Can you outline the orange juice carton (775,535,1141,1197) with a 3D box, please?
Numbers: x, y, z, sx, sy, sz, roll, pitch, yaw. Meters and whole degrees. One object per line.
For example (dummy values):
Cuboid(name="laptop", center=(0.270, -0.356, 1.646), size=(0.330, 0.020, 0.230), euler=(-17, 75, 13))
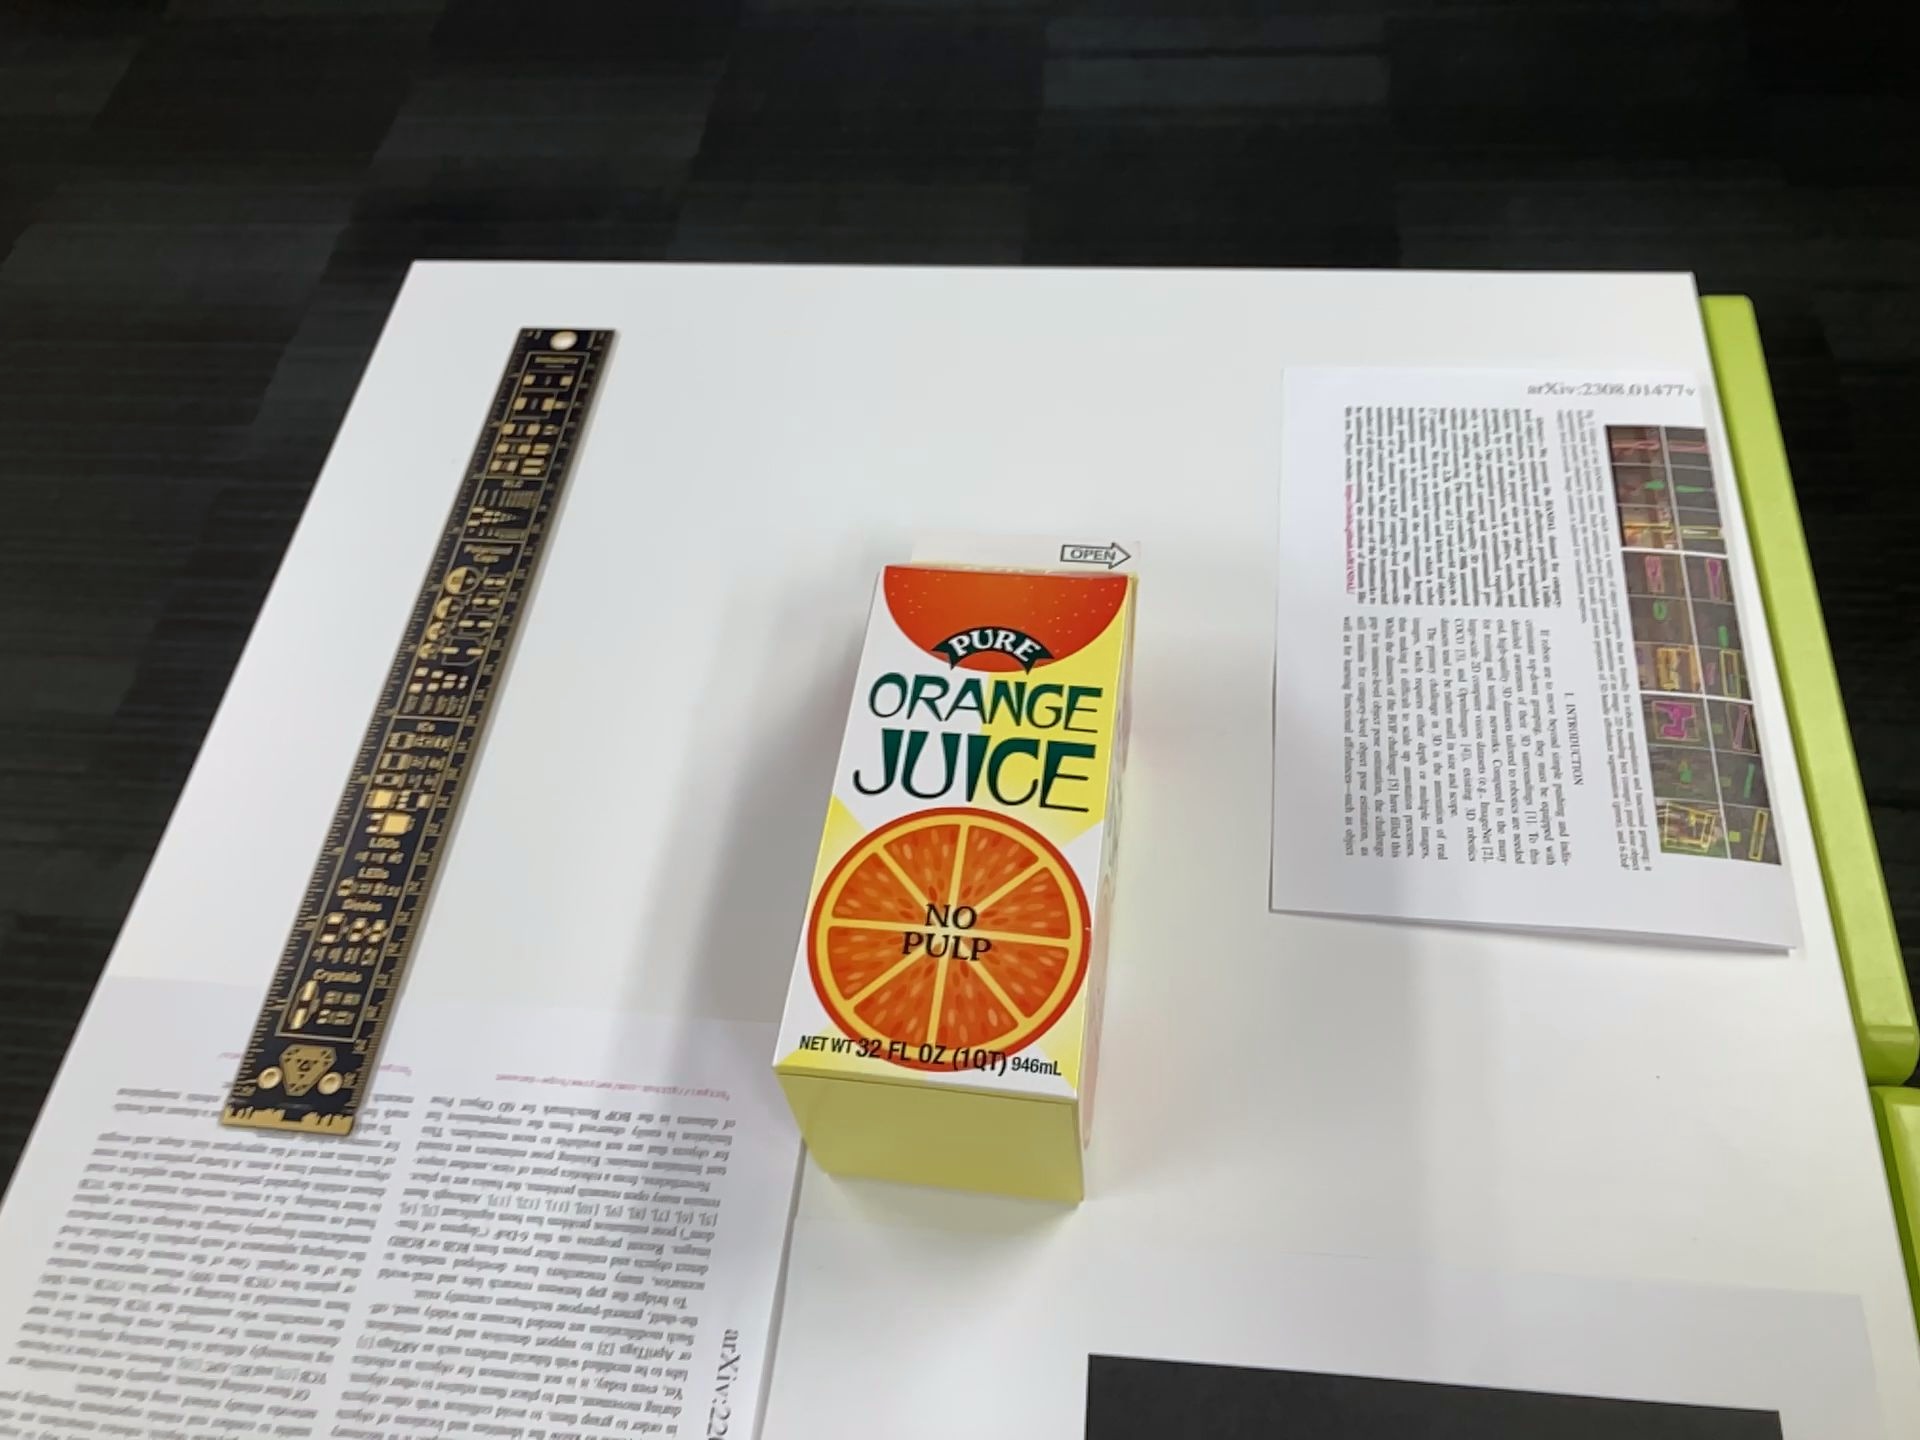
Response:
Cuboid(name="orange juice carton", center=(0.008, 0.024, 0.441), size=(0.072, 0.073, 0.192), euler=(4, 57, 9))
